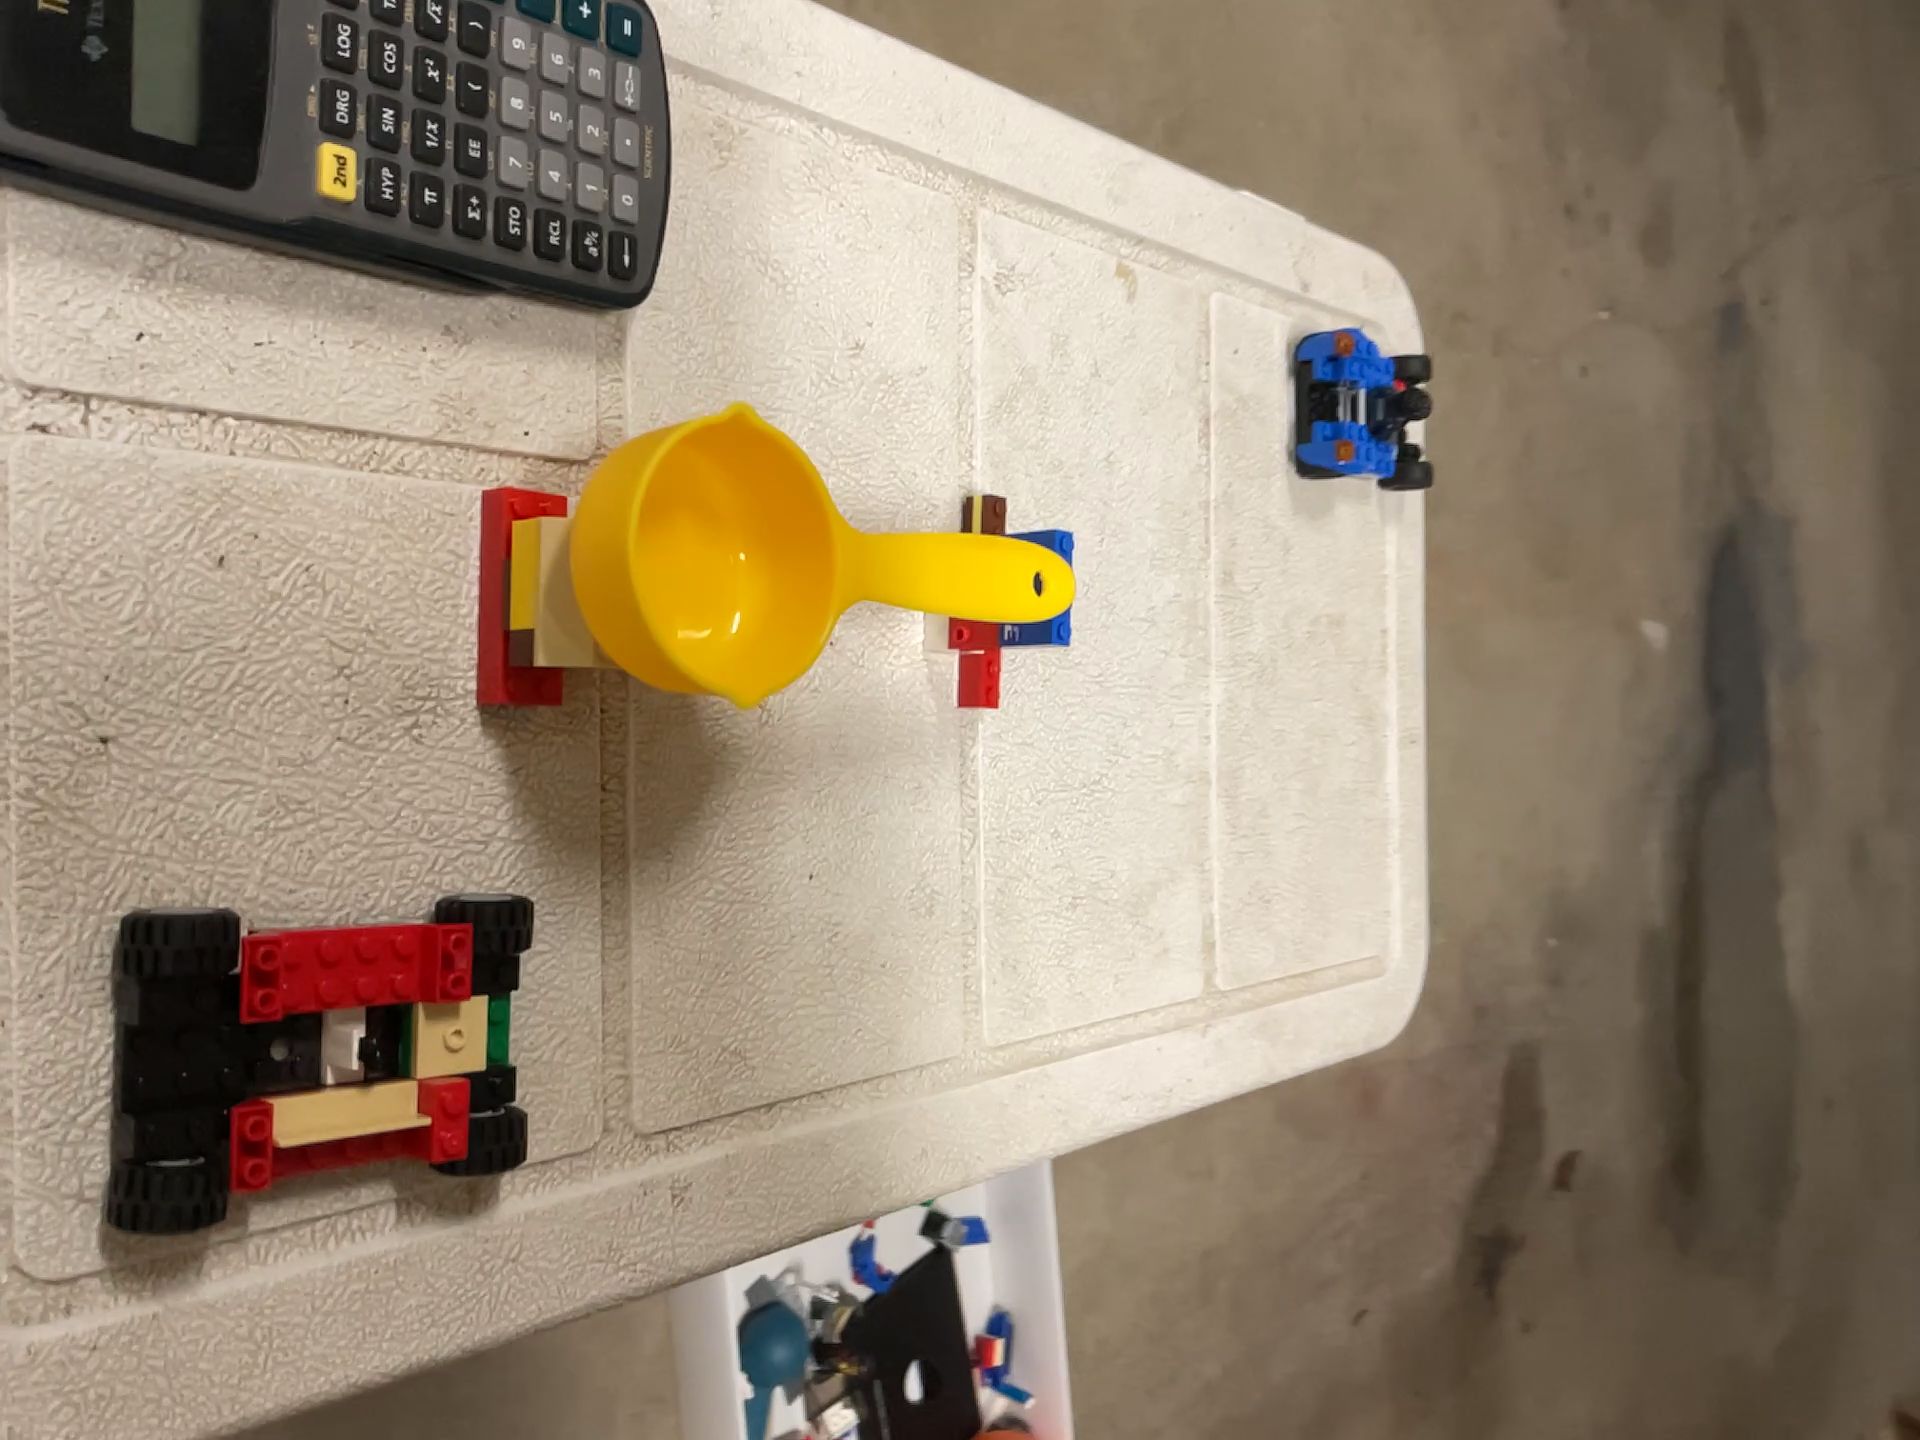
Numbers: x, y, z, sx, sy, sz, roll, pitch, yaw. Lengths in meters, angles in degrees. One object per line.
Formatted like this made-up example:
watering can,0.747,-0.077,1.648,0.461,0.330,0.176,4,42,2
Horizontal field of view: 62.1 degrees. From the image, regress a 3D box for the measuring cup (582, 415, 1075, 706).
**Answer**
measuring cup,-0.026,-0.035,0.388,0.156,0.029,0.062,-1,90,-52
